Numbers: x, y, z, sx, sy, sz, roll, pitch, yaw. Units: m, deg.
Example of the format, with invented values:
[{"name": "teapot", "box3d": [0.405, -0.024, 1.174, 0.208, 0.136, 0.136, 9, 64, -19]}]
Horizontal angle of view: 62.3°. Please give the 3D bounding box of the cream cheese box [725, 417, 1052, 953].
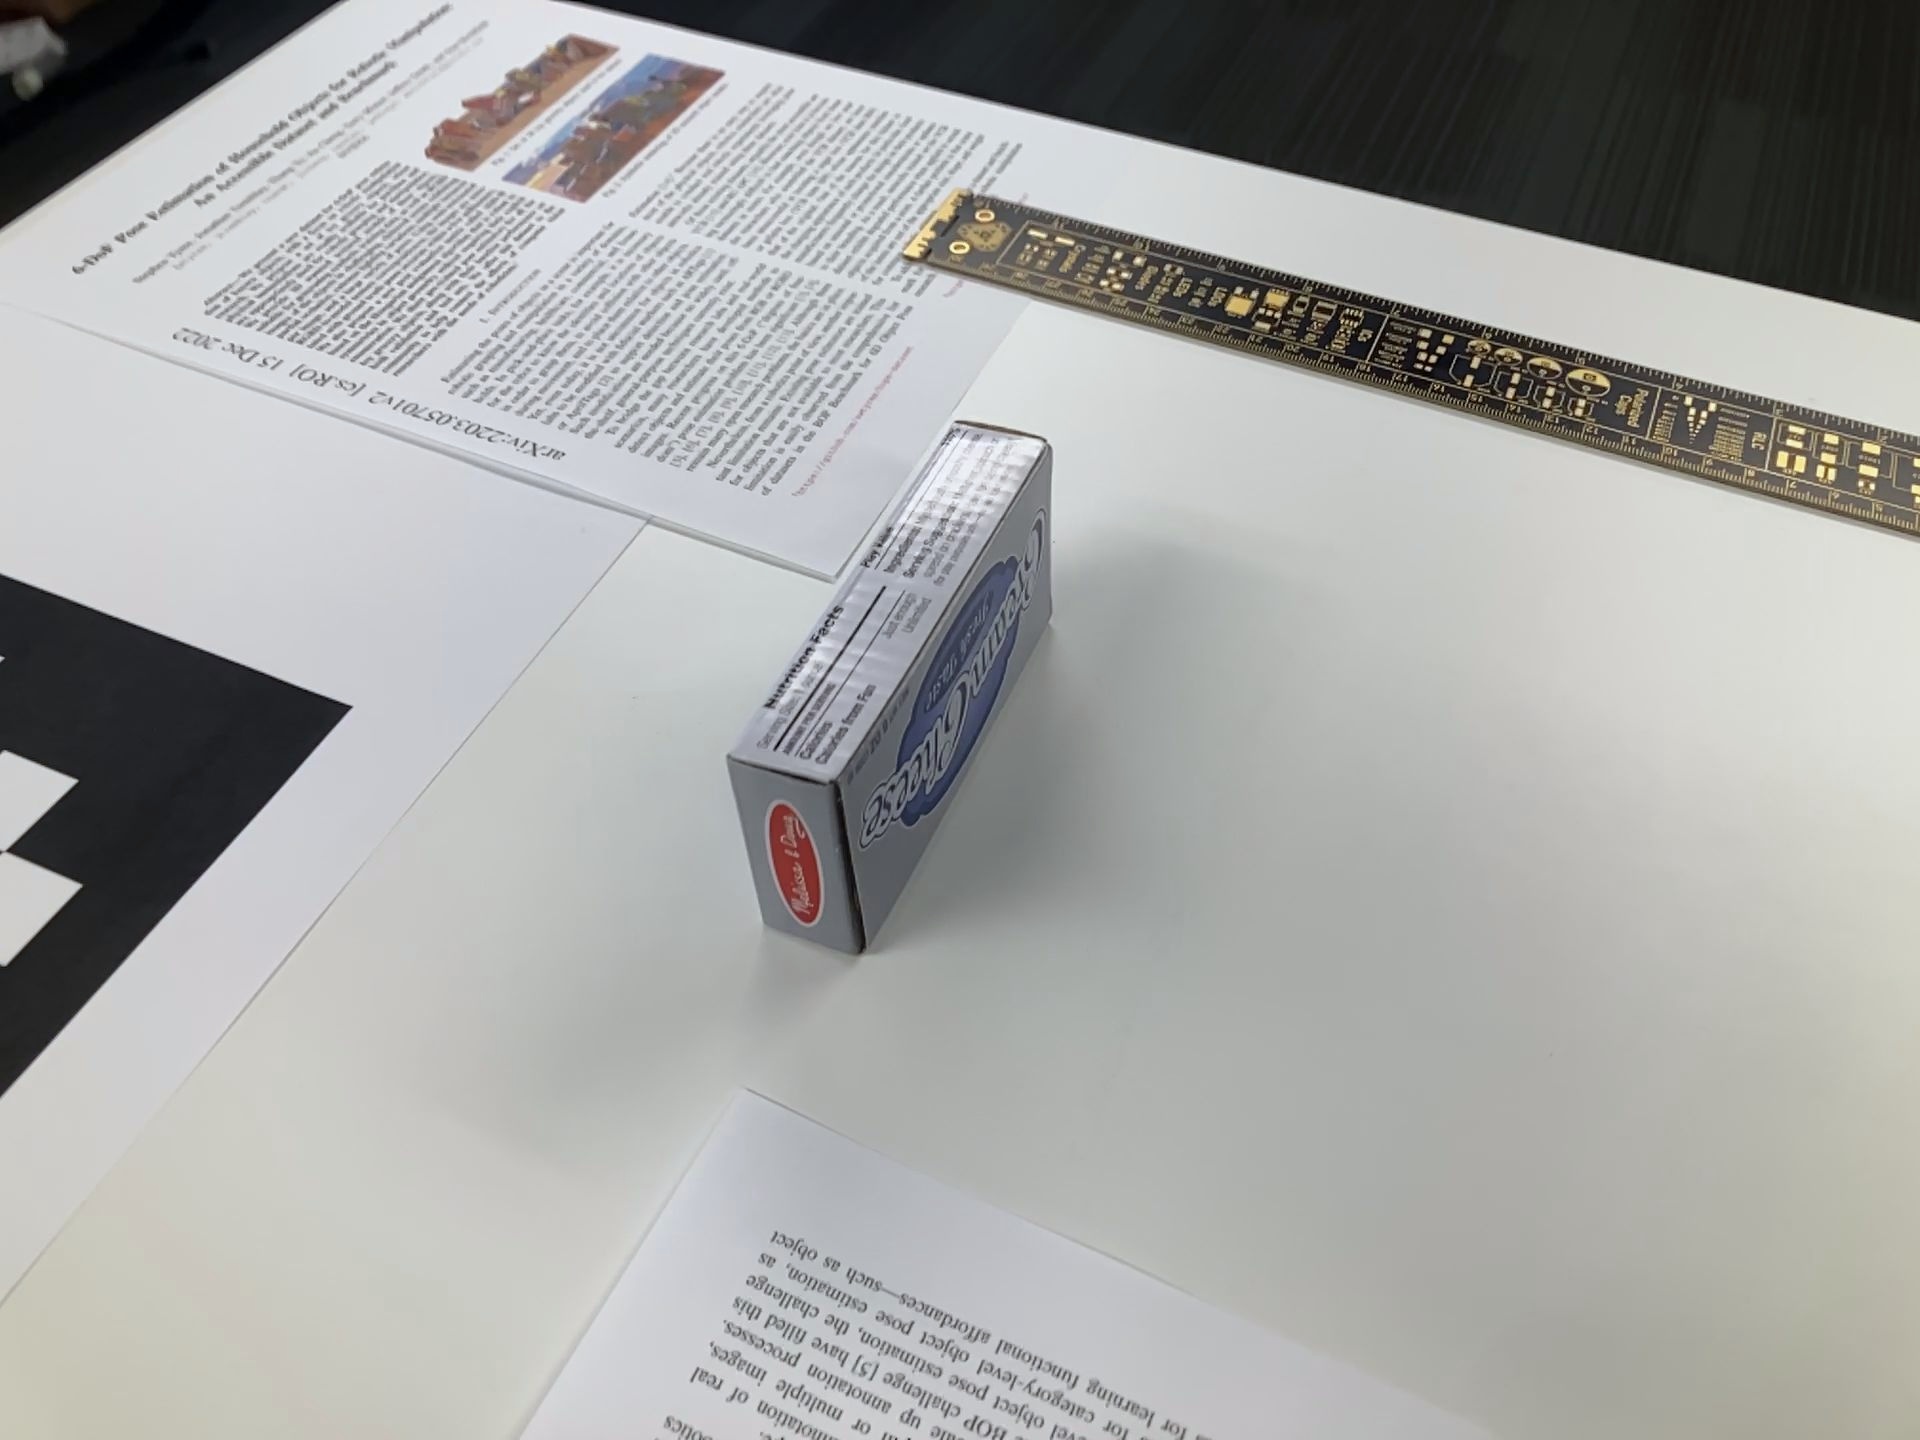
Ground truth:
[{"name": "cream cheese box", "box3d": [-0.010, -0.010, 0.323, 0.024, 0.053, 0.104, 17, 51, 16]}]
